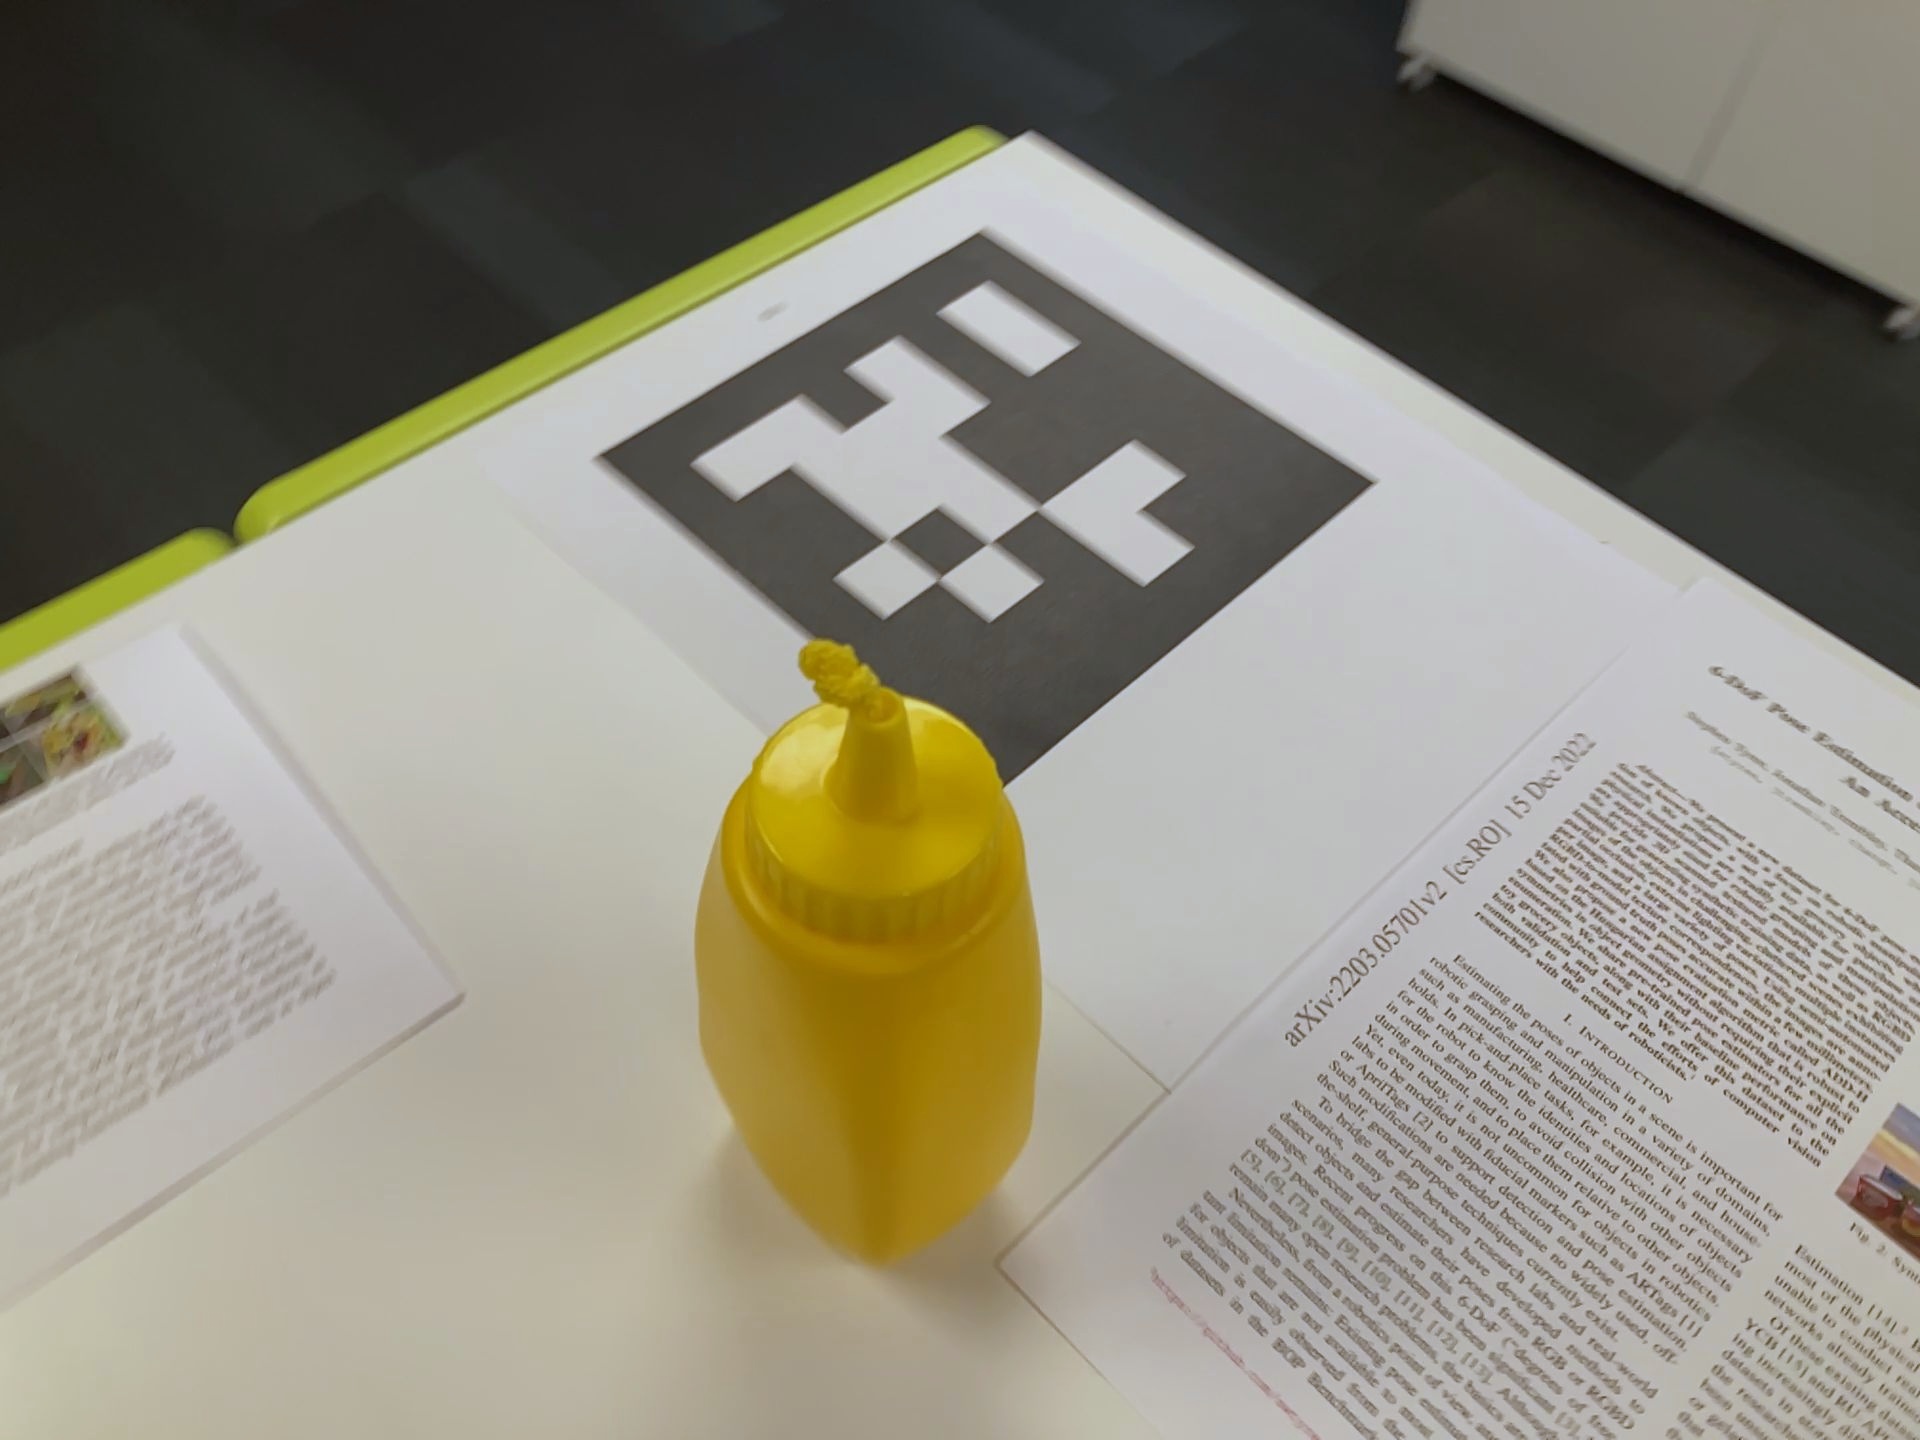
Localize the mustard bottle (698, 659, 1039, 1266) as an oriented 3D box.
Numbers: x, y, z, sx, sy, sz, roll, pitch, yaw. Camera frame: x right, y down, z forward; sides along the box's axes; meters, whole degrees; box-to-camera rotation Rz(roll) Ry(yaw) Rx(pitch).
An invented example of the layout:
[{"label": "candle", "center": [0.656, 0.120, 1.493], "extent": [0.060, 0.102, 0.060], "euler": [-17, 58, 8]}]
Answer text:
[{"label": "mustard bottle", "center": [-0.015, 0.041, 0.276], "extent": [0.049, 0.160, 0.065], "euler": [-32, 62, -26]}]
